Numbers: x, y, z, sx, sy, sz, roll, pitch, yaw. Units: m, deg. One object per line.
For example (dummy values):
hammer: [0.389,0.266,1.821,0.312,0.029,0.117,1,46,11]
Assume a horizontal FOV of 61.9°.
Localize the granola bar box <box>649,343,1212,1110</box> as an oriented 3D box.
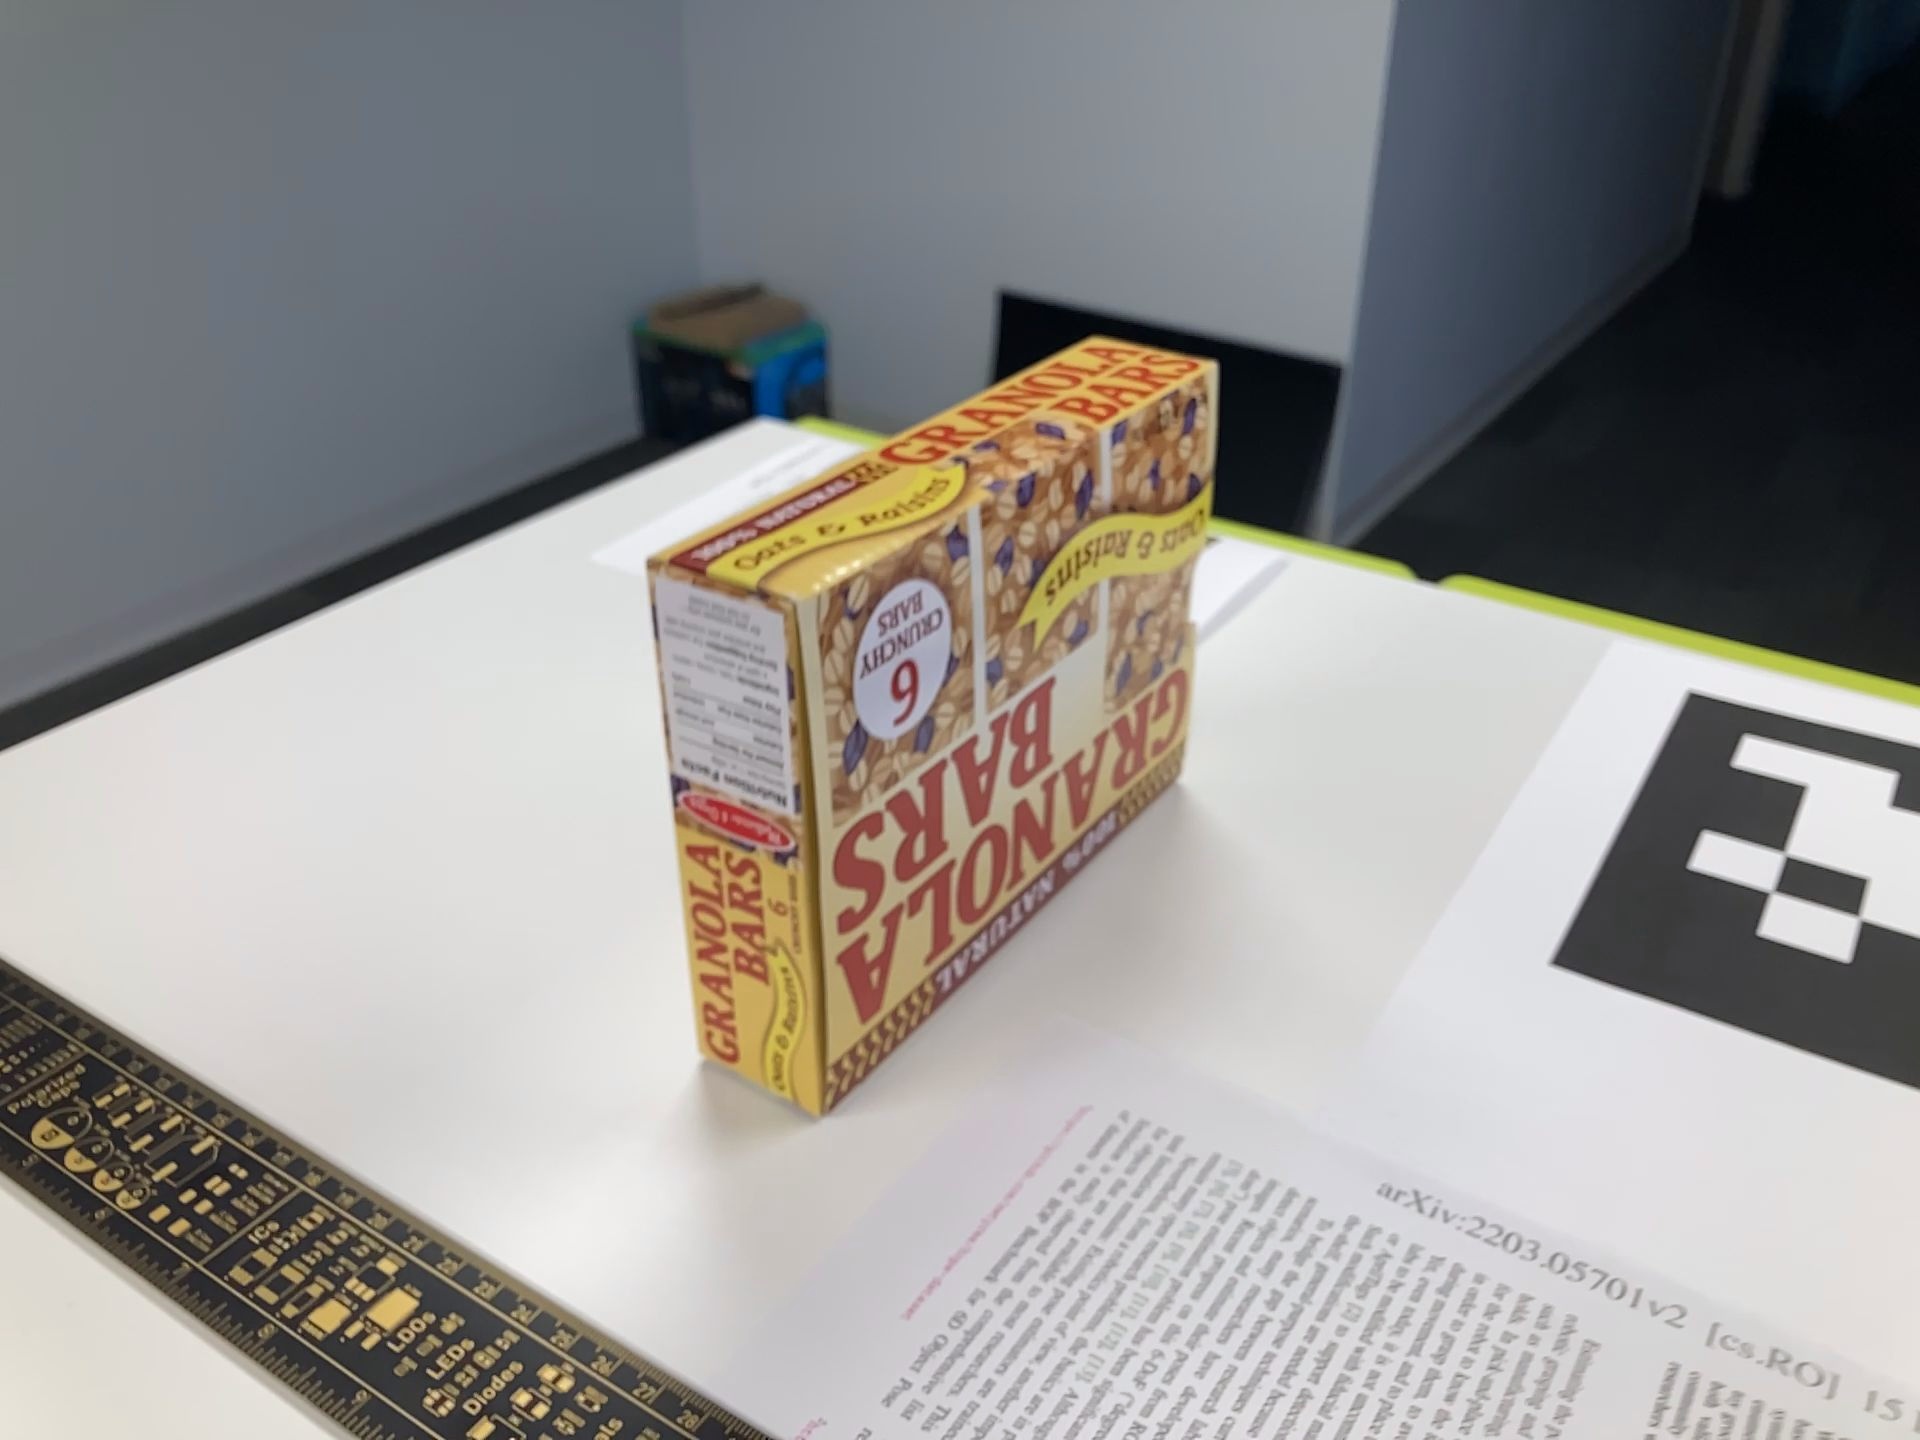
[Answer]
granola bar box: [0.003,-0.007,0.380,0.039,0.124,0.165,19,35,29]
